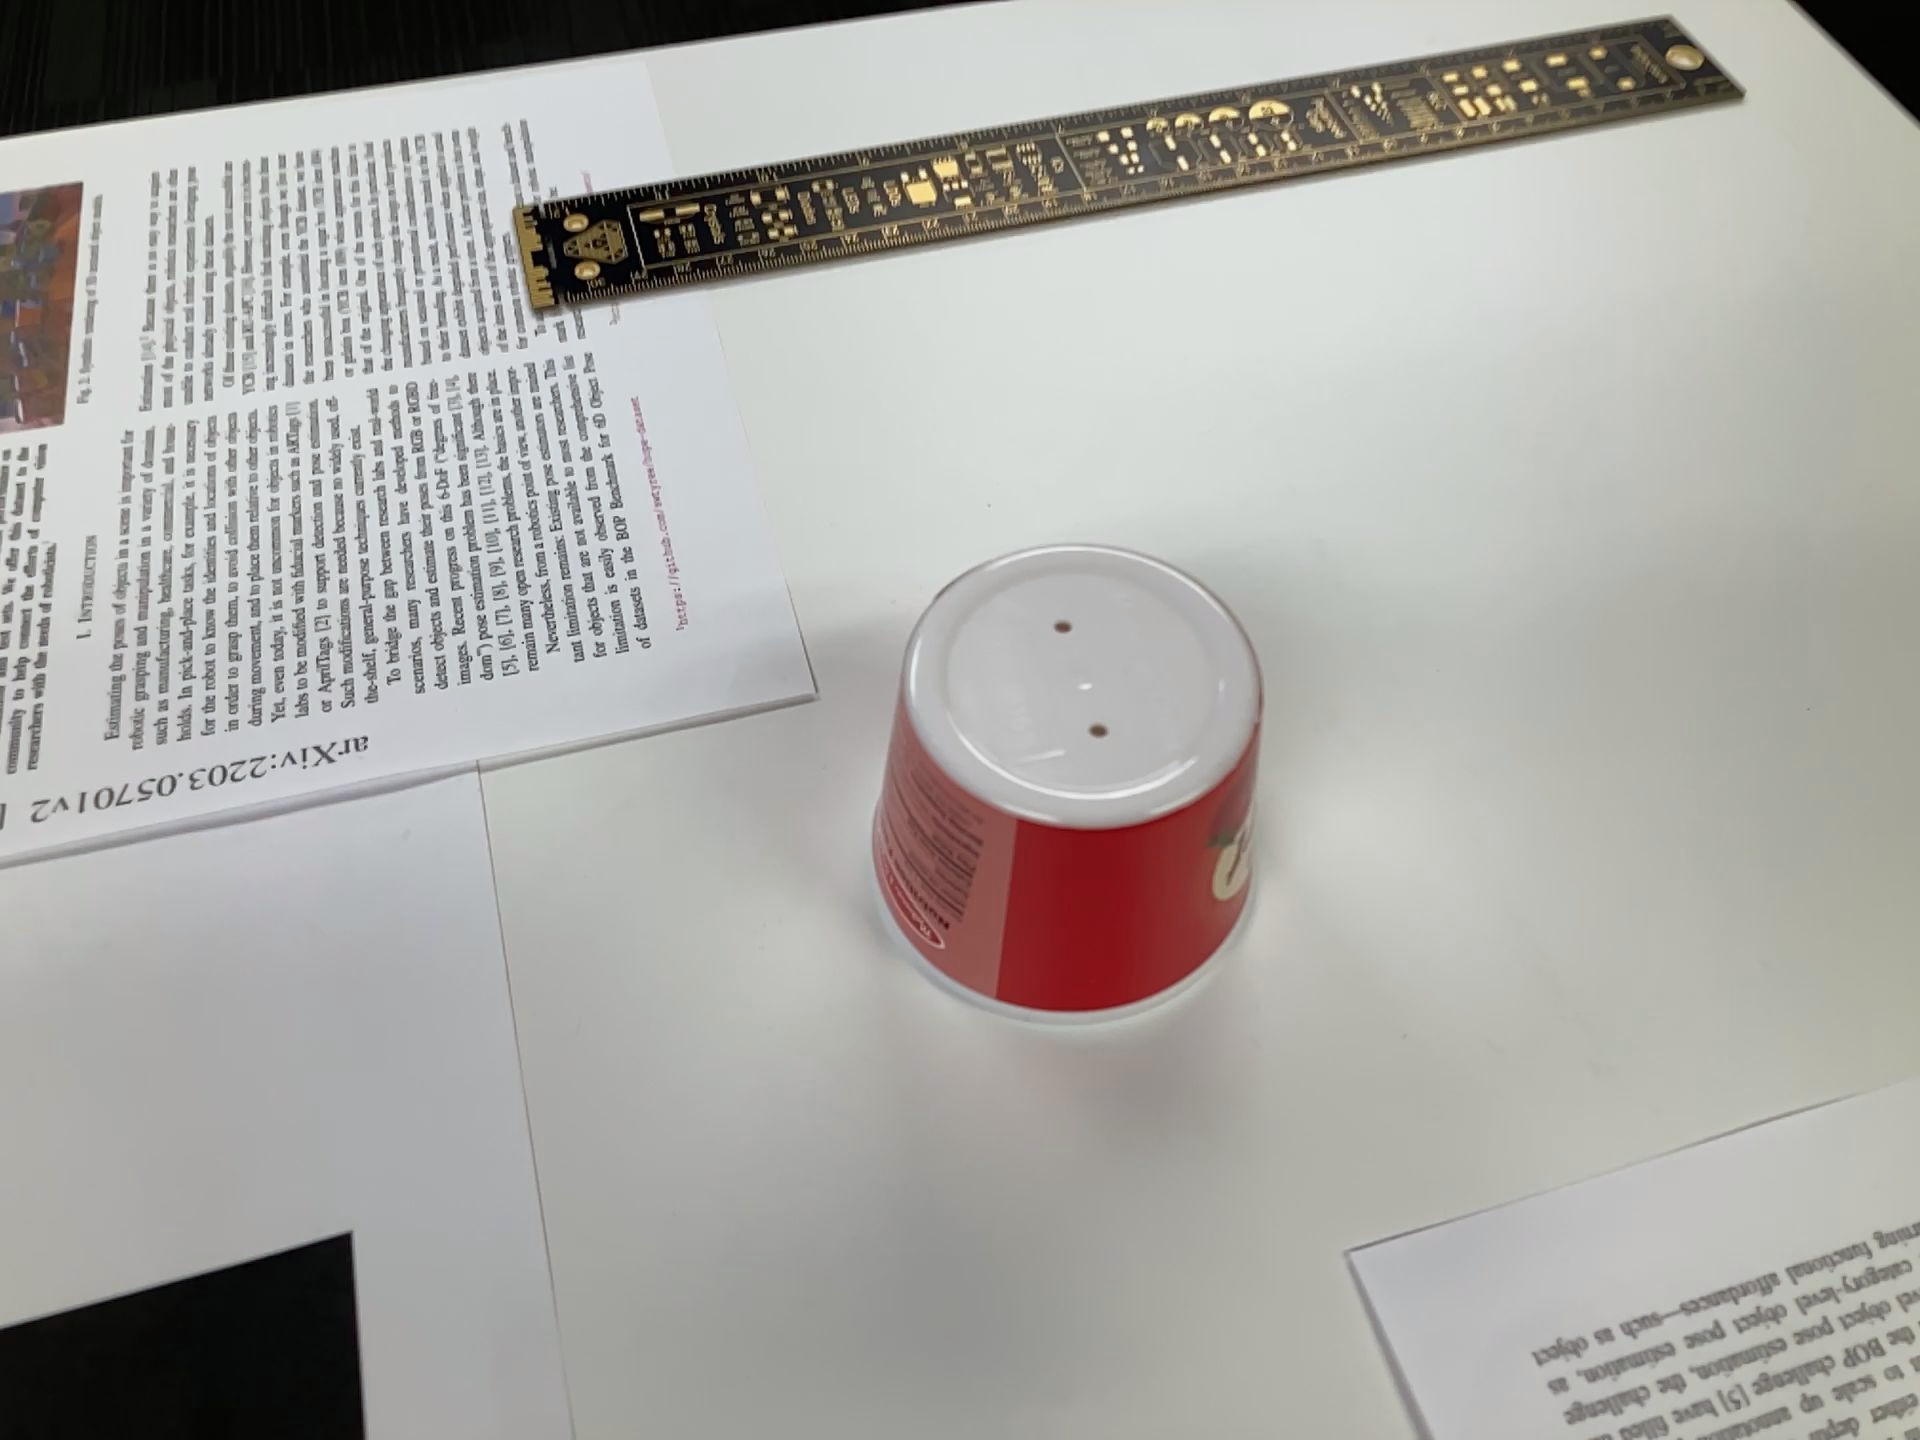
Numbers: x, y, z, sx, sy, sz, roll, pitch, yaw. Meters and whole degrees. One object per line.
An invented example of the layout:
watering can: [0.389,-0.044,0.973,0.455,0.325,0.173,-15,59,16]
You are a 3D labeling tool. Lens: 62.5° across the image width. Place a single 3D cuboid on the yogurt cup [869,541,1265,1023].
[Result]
yogurt cup: [0.018,0.008,0.259,0.072,0.054,0.072,0,55,0]
